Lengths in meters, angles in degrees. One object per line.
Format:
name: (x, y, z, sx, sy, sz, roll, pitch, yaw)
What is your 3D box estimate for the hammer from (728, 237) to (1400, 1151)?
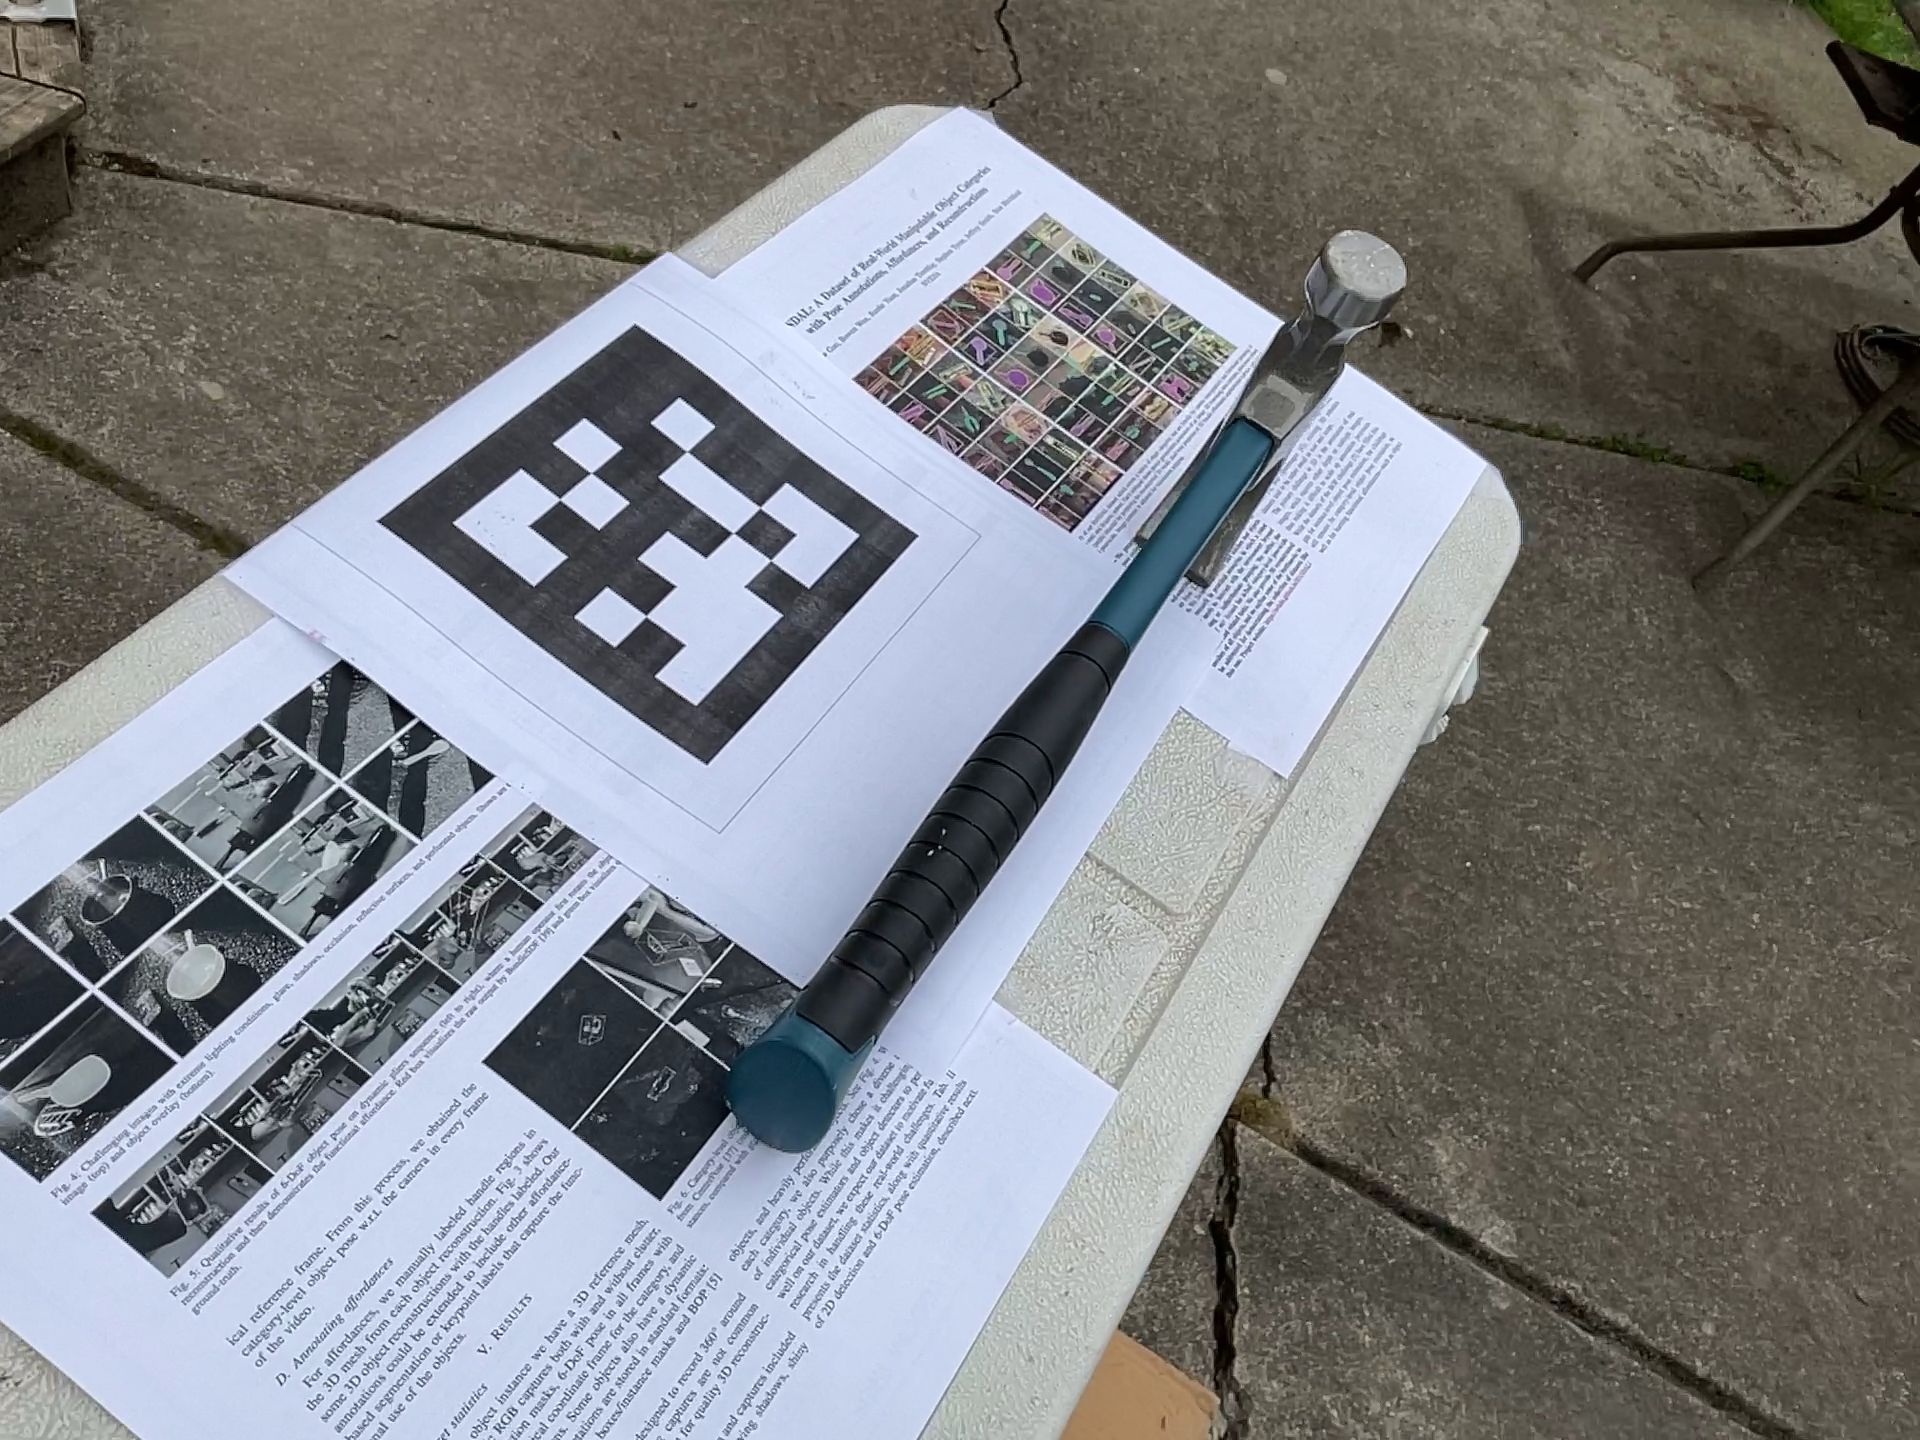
hammer: (0.036, -0.012, 0.495, 0.033, 0.128, 0.331, 34, 61, 5)
